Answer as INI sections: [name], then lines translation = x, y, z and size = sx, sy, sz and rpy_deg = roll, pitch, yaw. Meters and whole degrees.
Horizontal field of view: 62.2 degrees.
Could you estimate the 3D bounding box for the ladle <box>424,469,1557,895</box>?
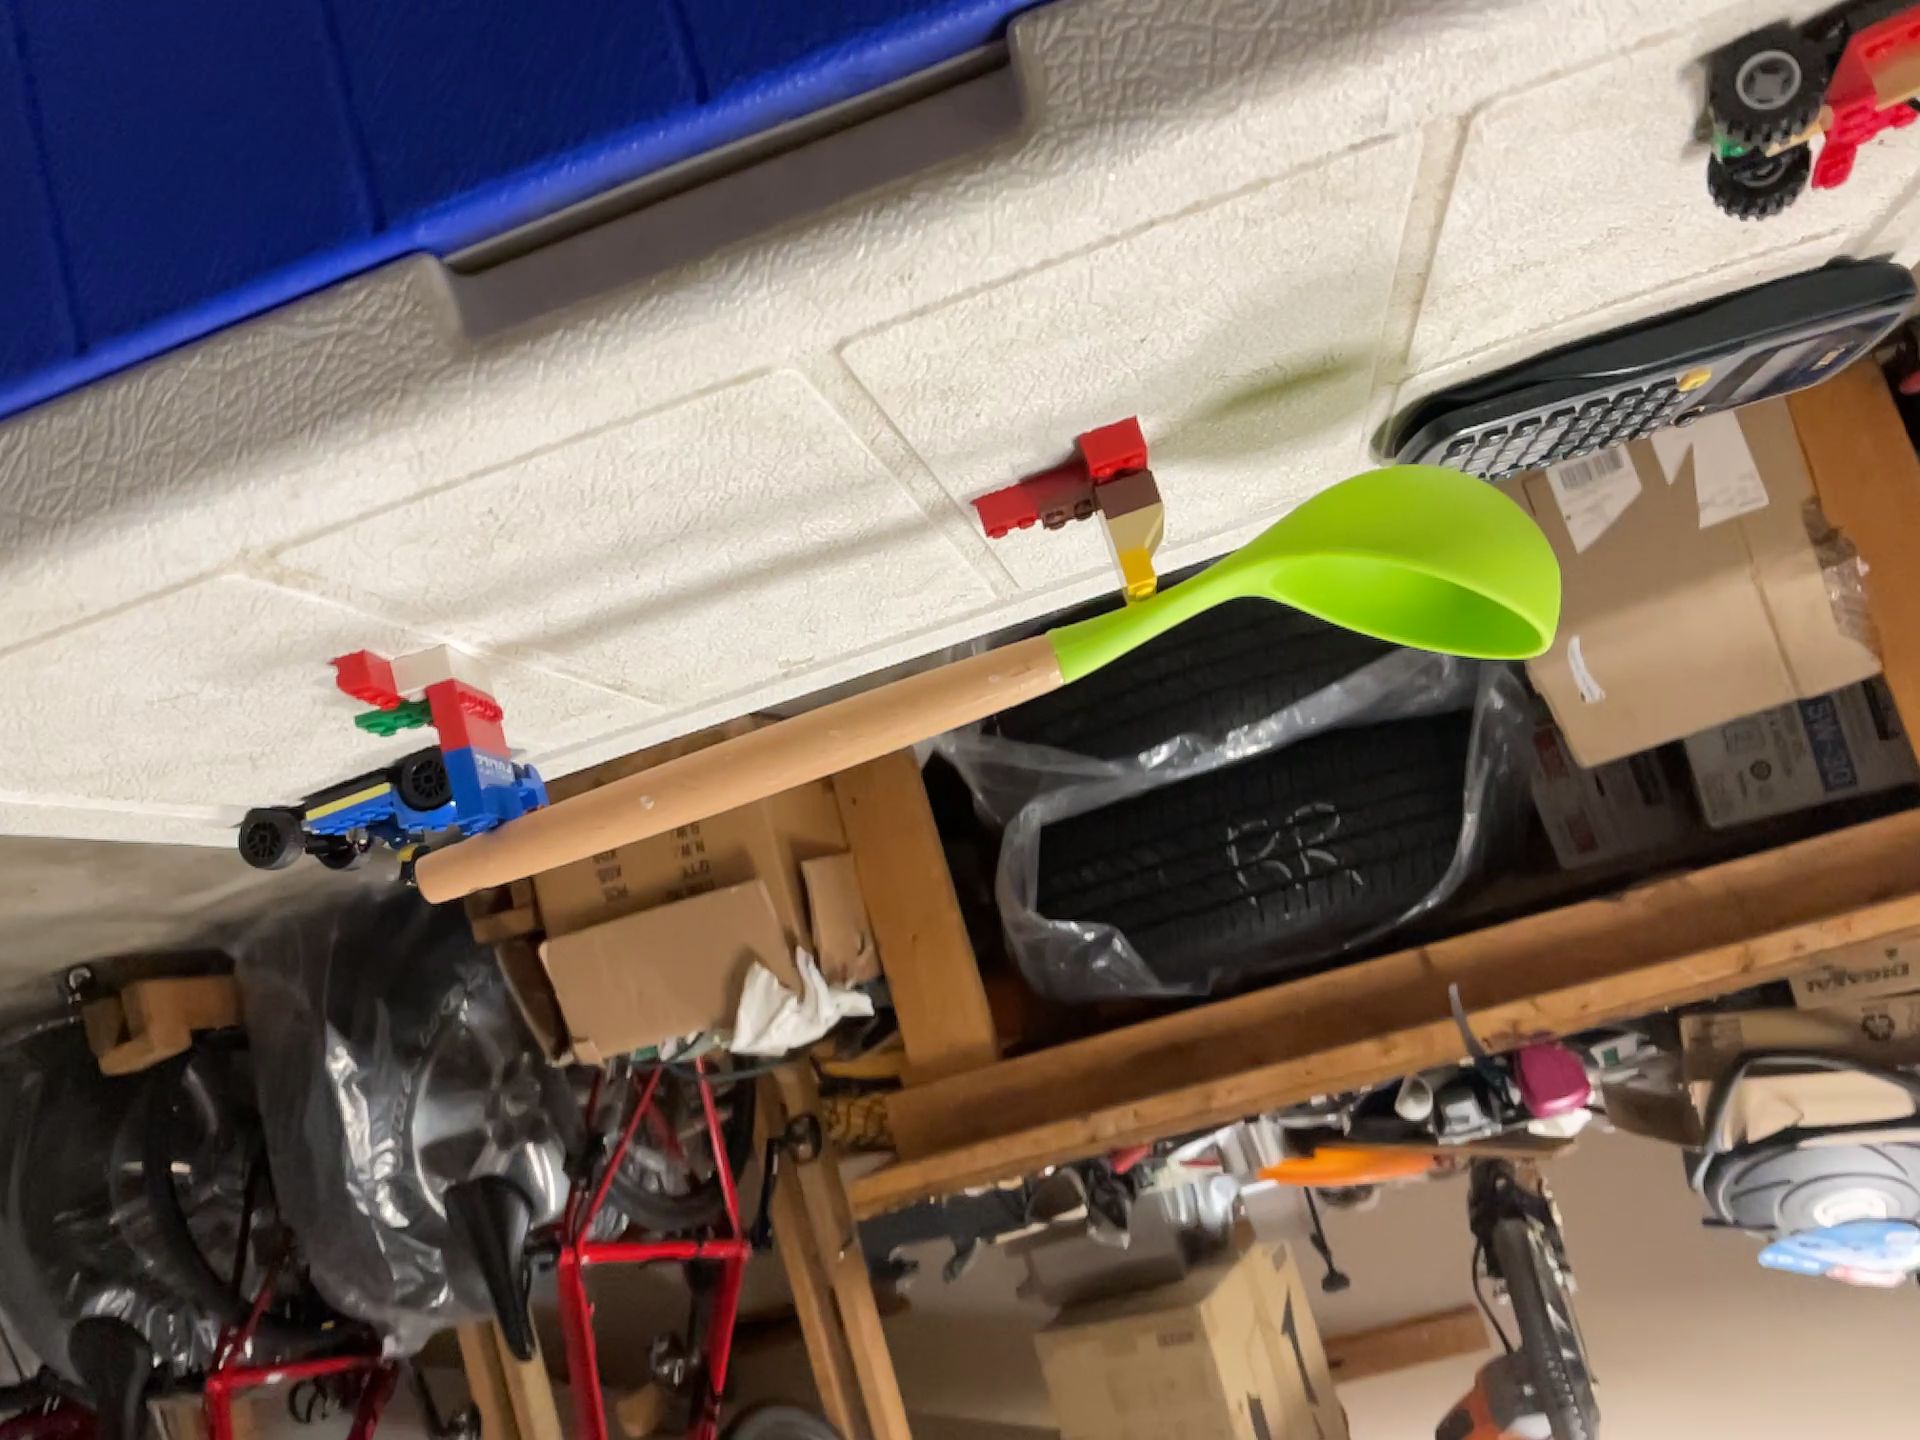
[ladle]
translation = 0.007, 0.002, 0.442
size = 0.320, 0.062, 0.078
rpy_deg = -19, 171, 1
